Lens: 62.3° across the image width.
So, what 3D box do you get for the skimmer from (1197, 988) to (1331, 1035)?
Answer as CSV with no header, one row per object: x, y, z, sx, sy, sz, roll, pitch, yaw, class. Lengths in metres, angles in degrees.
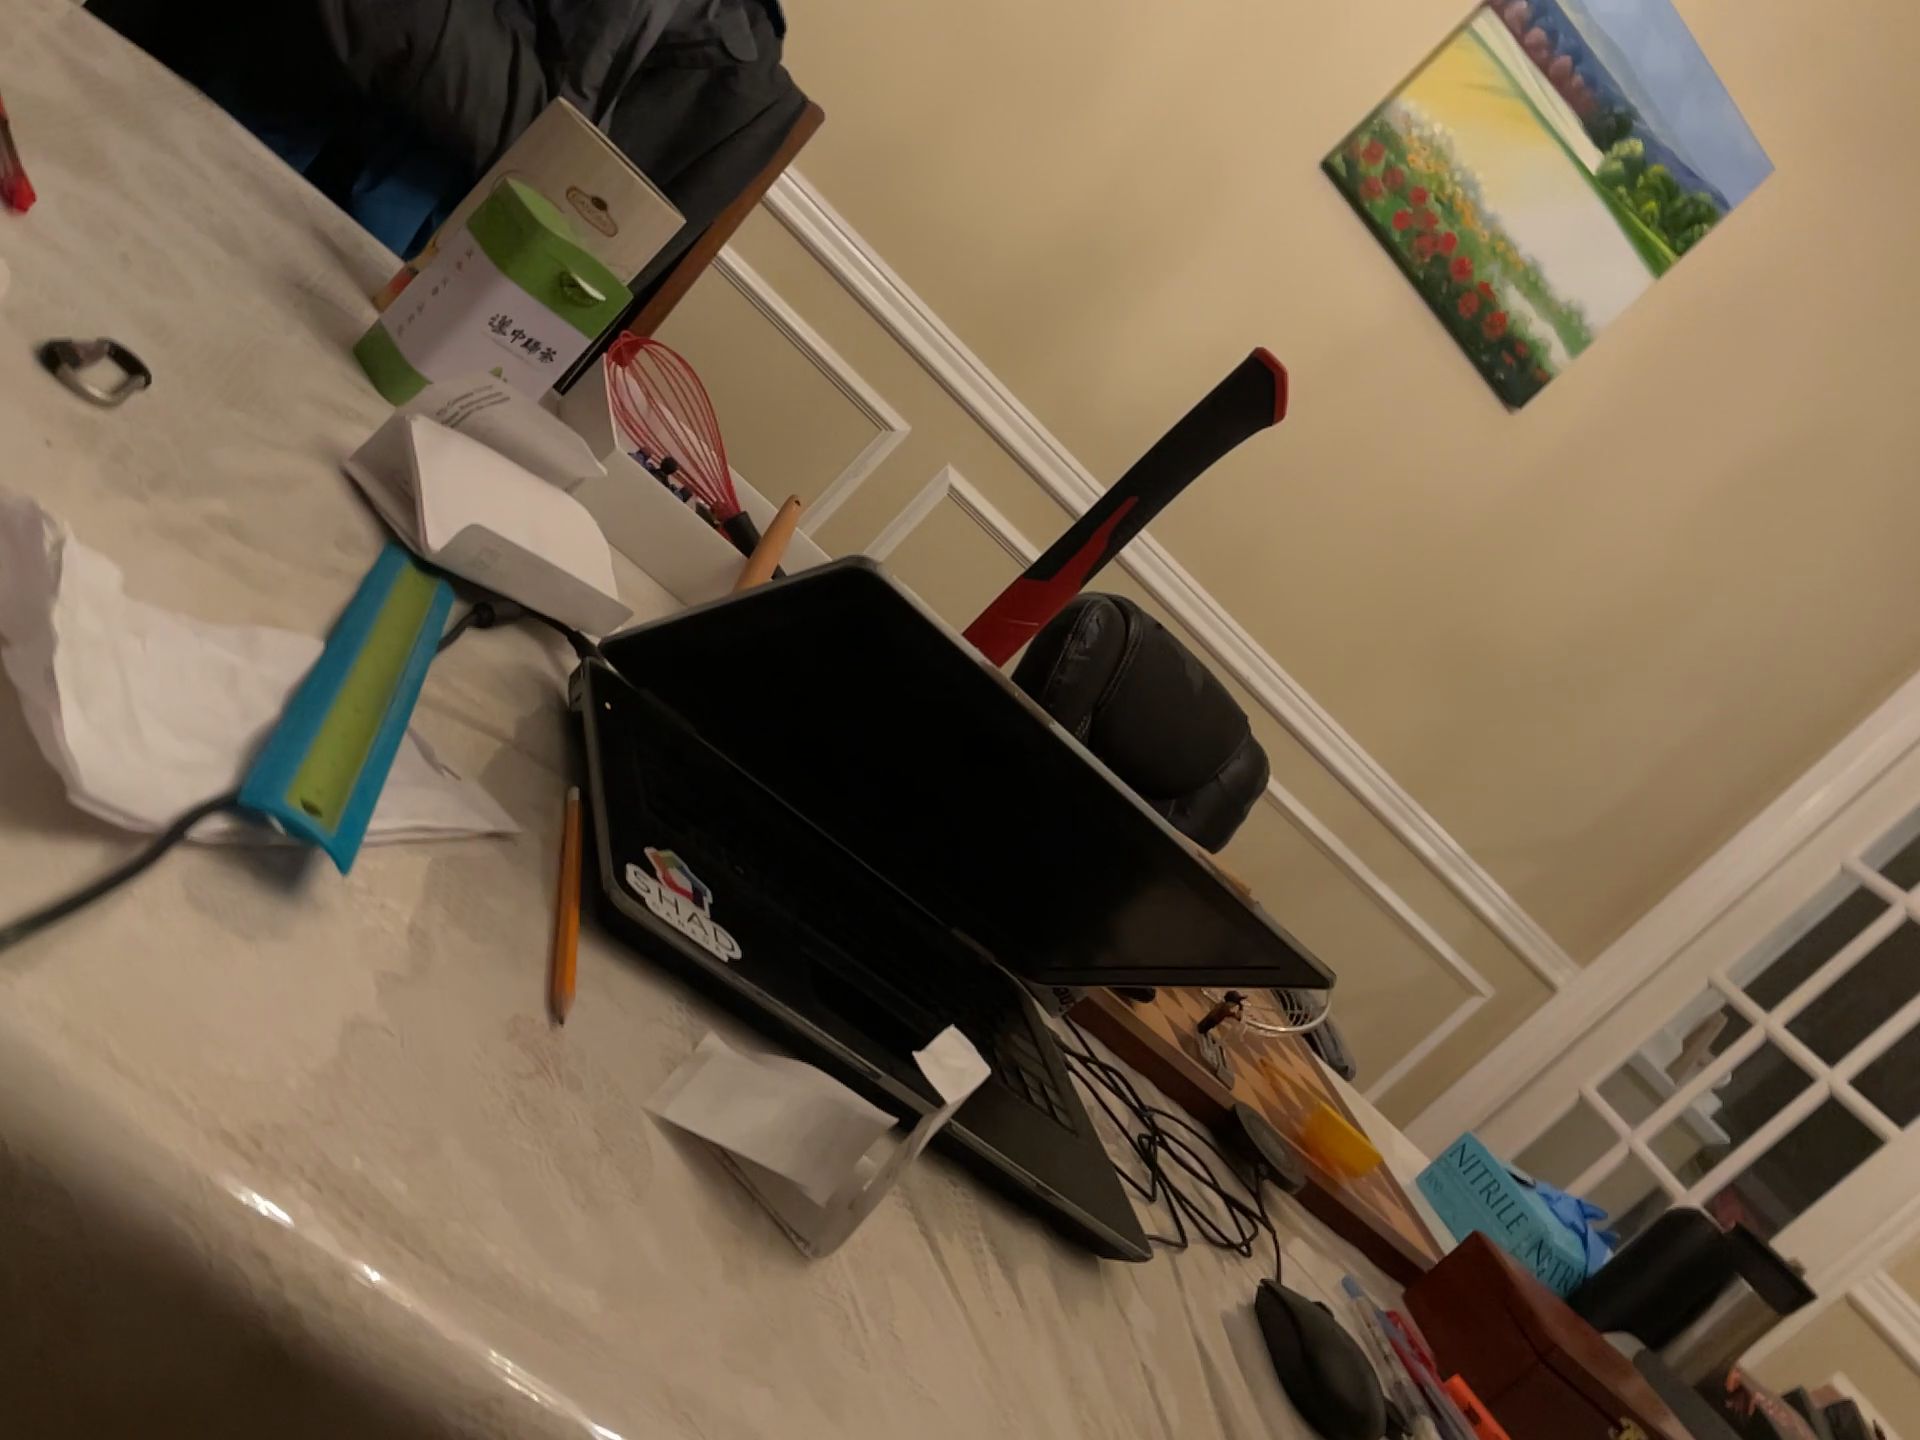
0.182,0.157,1.242,0.362,0.090,0.127,42,11,-47,skimmer

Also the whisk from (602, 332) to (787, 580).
-0.189,-0.175,1.245,0.296,0.073,0.073,59,28,0,whisk

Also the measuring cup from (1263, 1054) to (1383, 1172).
0.275,0.308,1.259,0.062,0.029,0.157,38,-1,-23,measuring cup

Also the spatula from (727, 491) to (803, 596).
-0.135,-0.079,1.025,0.082,0.044,0.317,41,31,-18,spatula

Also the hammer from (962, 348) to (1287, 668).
0.047,-0.097,1.006,0.143,0.386,0.038,42,10,-21,hammer

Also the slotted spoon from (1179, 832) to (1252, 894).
0.112,0.058,1.286,0.313,0.031,0.070,34,9,-11,slotted spoon
